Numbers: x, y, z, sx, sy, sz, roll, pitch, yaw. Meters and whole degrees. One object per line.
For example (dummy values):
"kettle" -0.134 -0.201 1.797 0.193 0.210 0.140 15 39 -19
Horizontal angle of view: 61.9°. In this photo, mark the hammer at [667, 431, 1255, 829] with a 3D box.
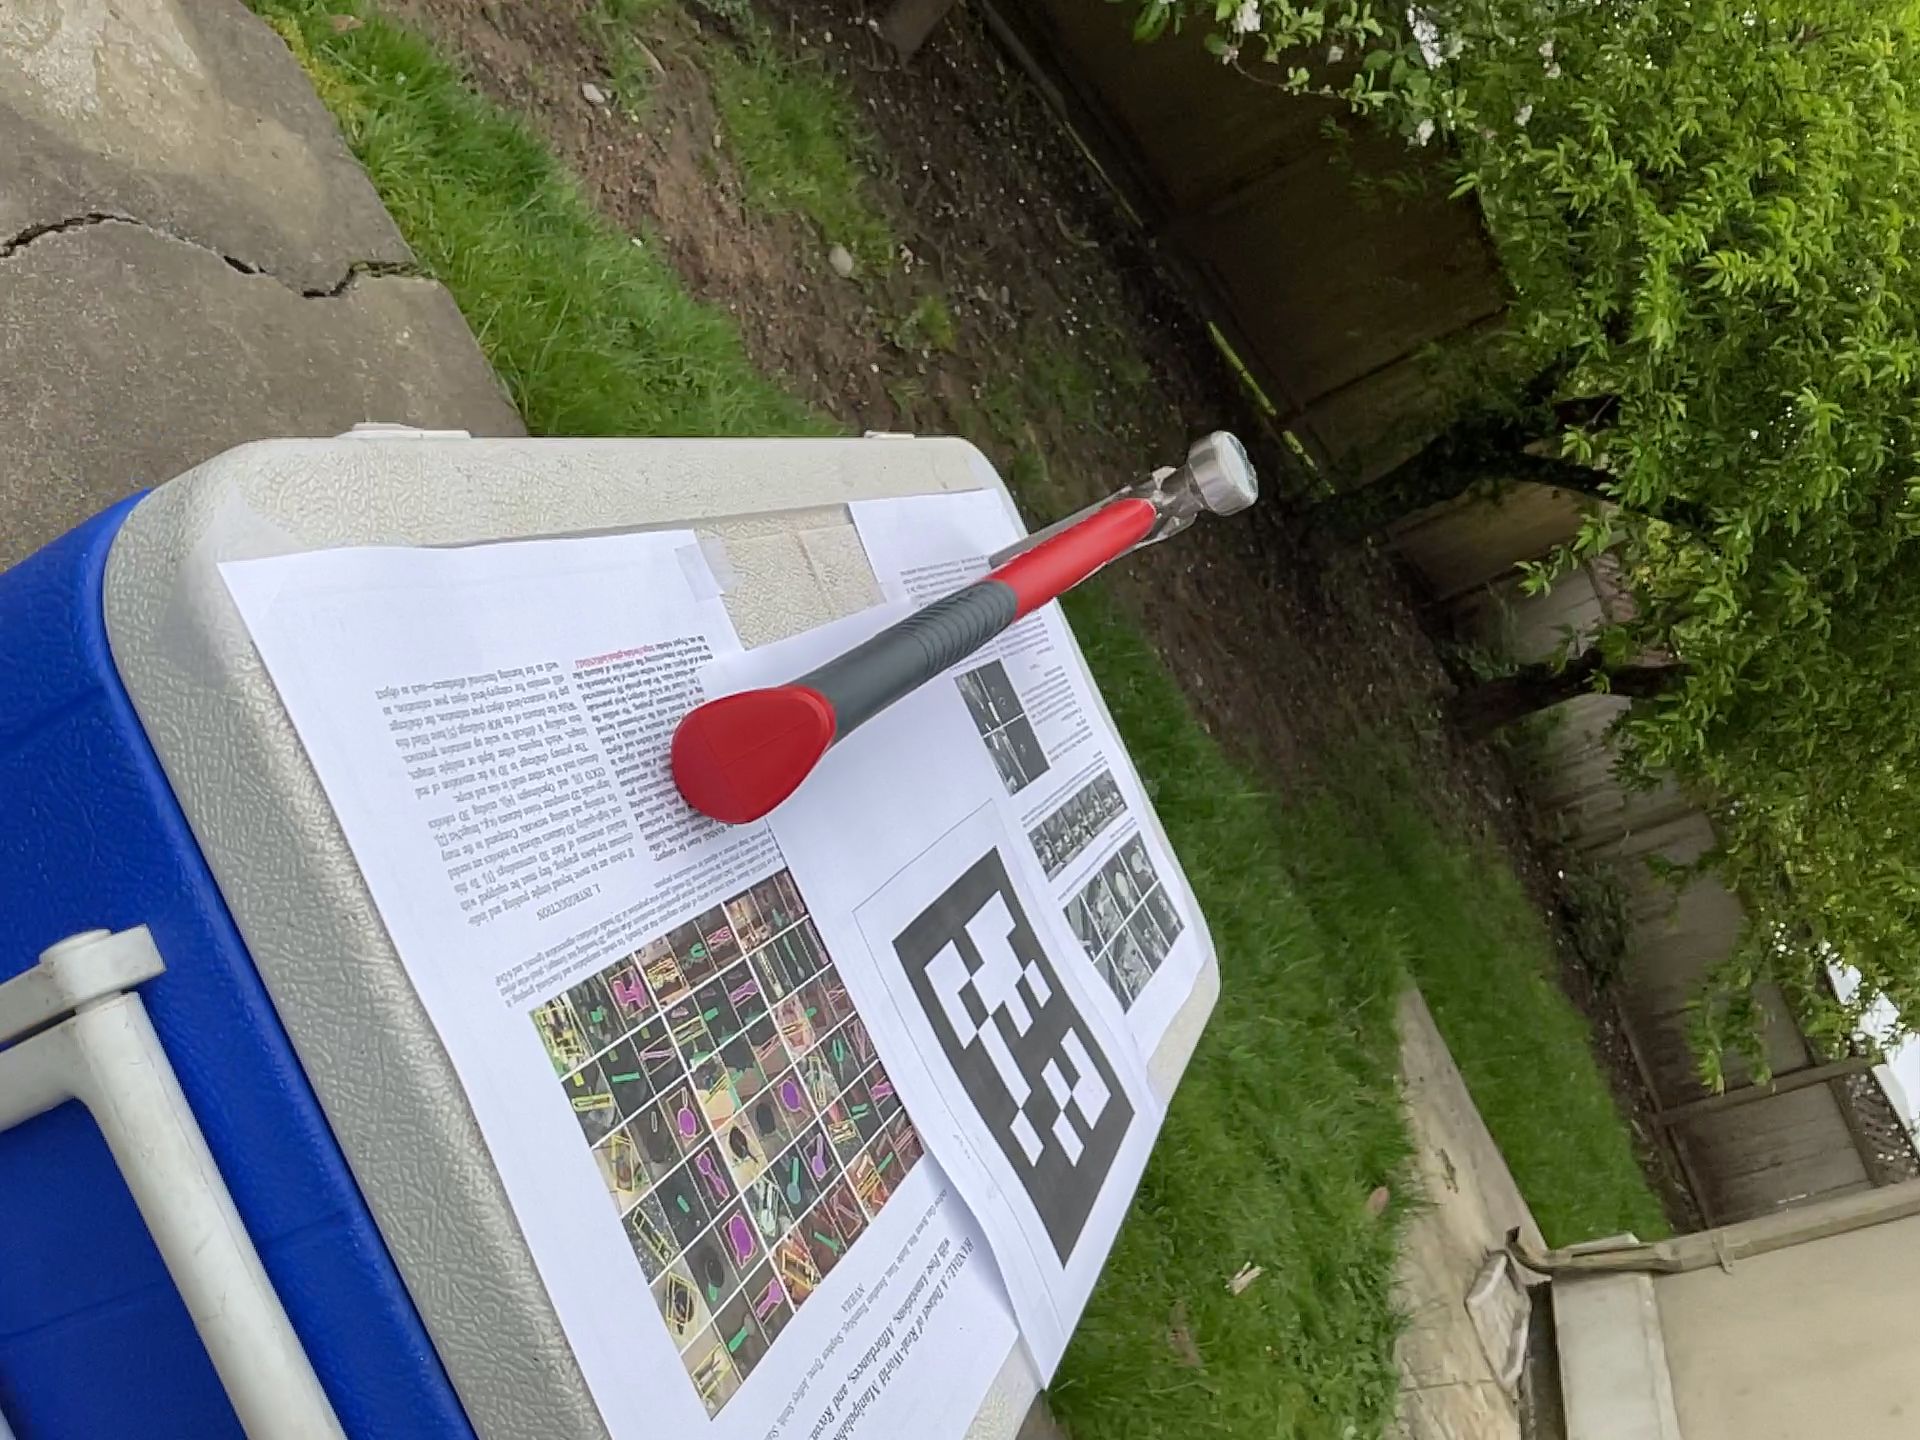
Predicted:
"hammer" -0.002 -0.039 0.627 0.038 0.143 0.386 62 32 -5
